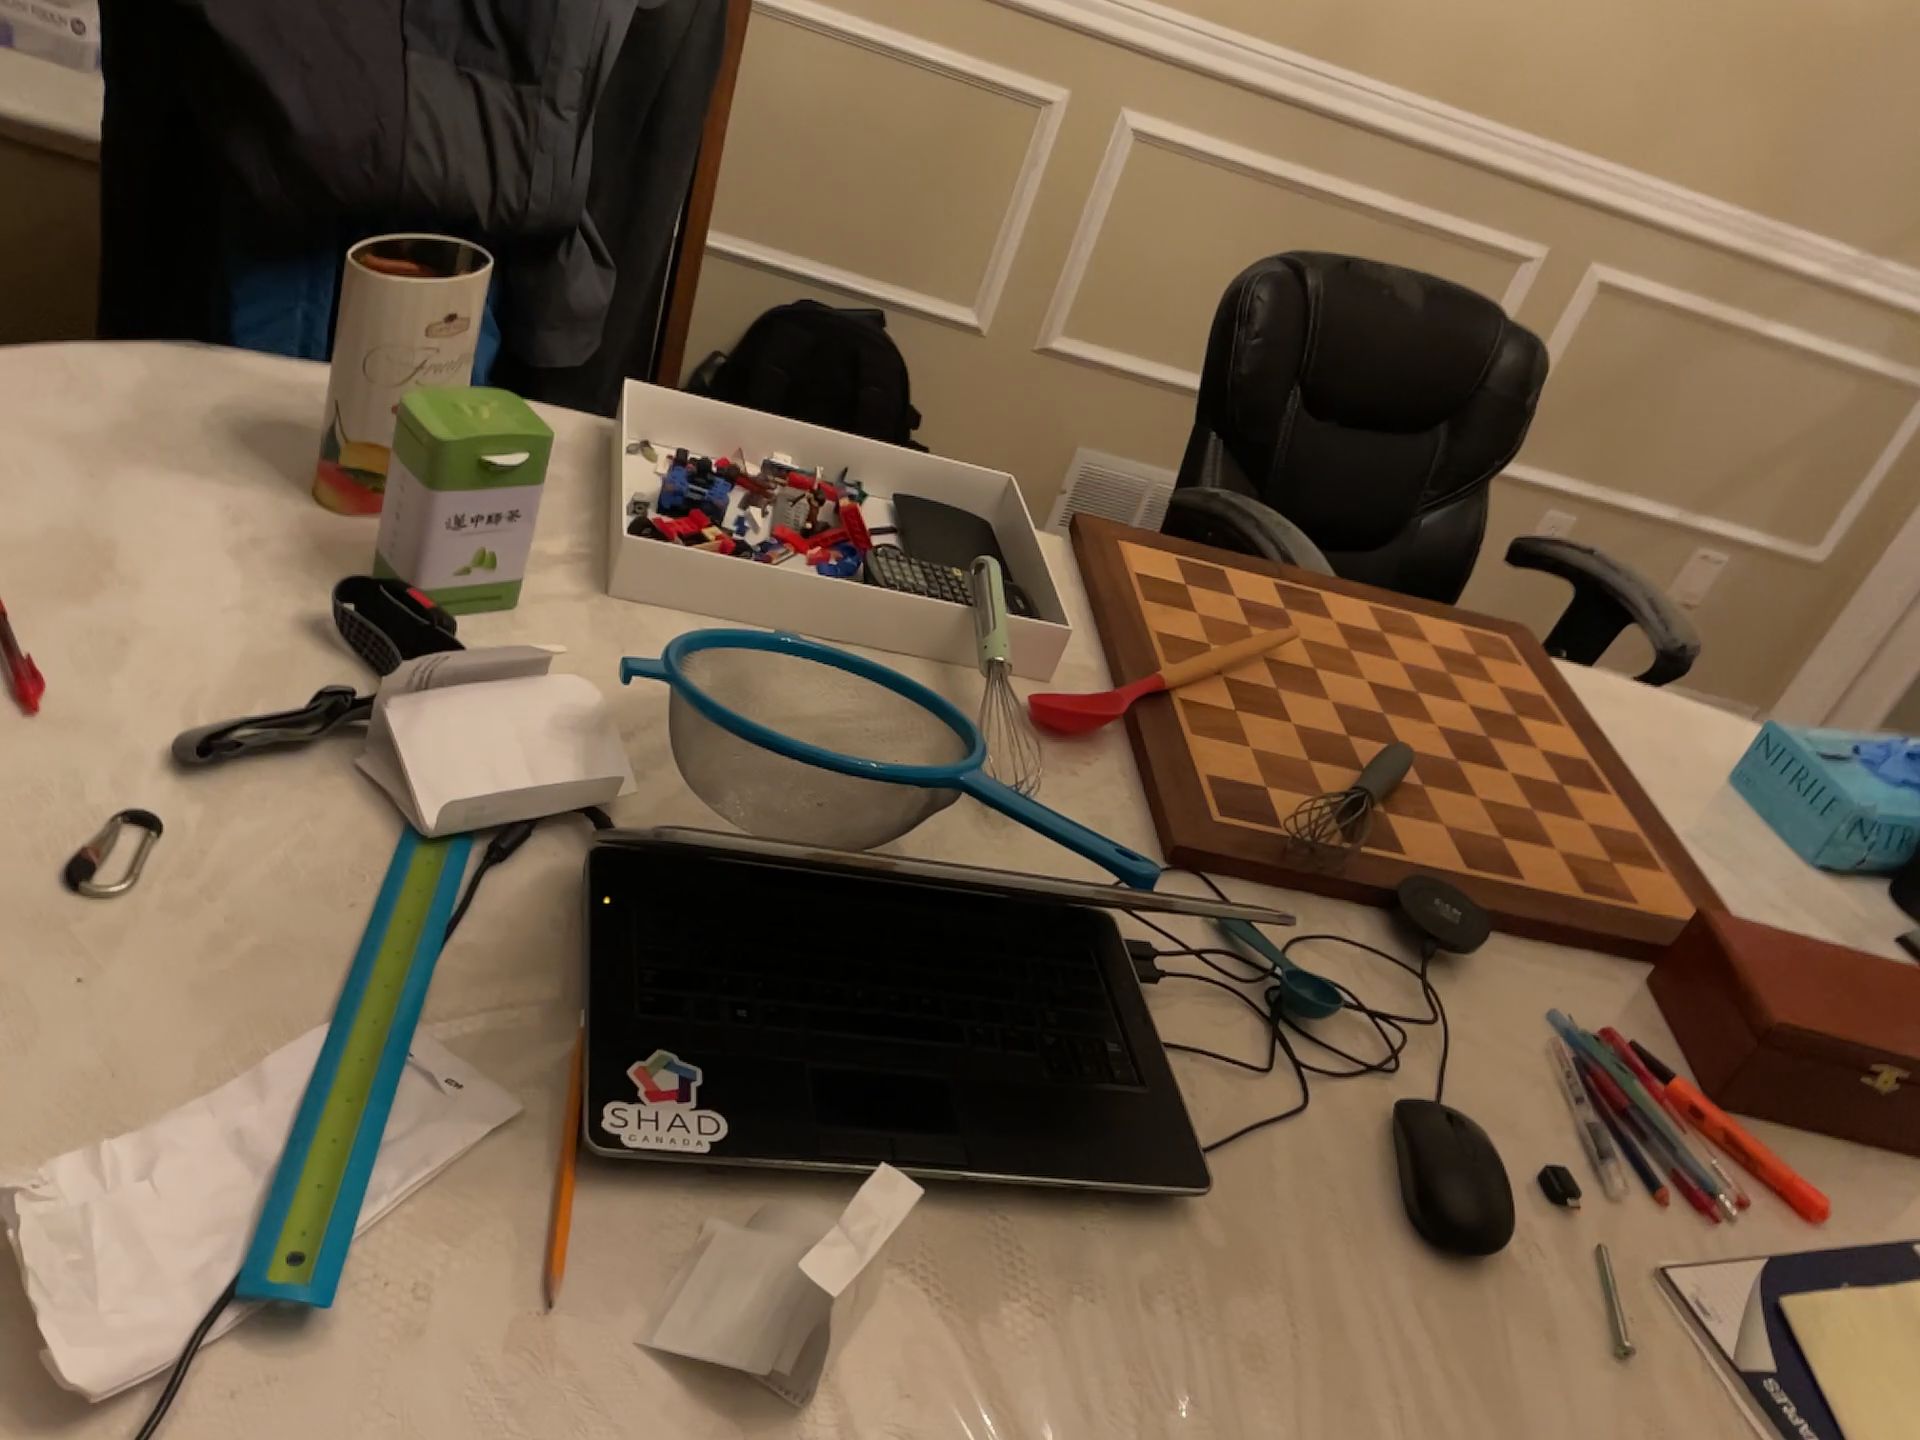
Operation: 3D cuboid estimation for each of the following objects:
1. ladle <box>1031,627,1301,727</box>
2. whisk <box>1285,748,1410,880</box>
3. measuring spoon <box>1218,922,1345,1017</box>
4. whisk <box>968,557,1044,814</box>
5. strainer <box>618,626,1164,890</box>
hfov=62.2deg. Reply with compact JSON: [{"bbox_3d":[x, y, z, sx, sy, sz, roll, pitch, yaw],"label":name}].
[{"bbox_3d":[0.178,-0.039,1.284,0.315,0.031,0.069,-18,27,-40],"label":"ladle"},{"bbox_3d":[0.299,0.062,1.194,0.055,0.055,0.238,45,32,11],"label":"whisk"},{"bbox_3d":[0.197,0.157,1.042,0.042,0.021,0.129,4,23,-40],"label":"measuring spoon"},{"bbox_3d":[0.026,-0.030,1.152,0.059,0.058,0.247,36,35,-38],"label":"whisk"},{"bbox_3d":[-0.041,0.052,0.971,0.340,0.095,0.211,28,19,19],"label":"strainer"}]
